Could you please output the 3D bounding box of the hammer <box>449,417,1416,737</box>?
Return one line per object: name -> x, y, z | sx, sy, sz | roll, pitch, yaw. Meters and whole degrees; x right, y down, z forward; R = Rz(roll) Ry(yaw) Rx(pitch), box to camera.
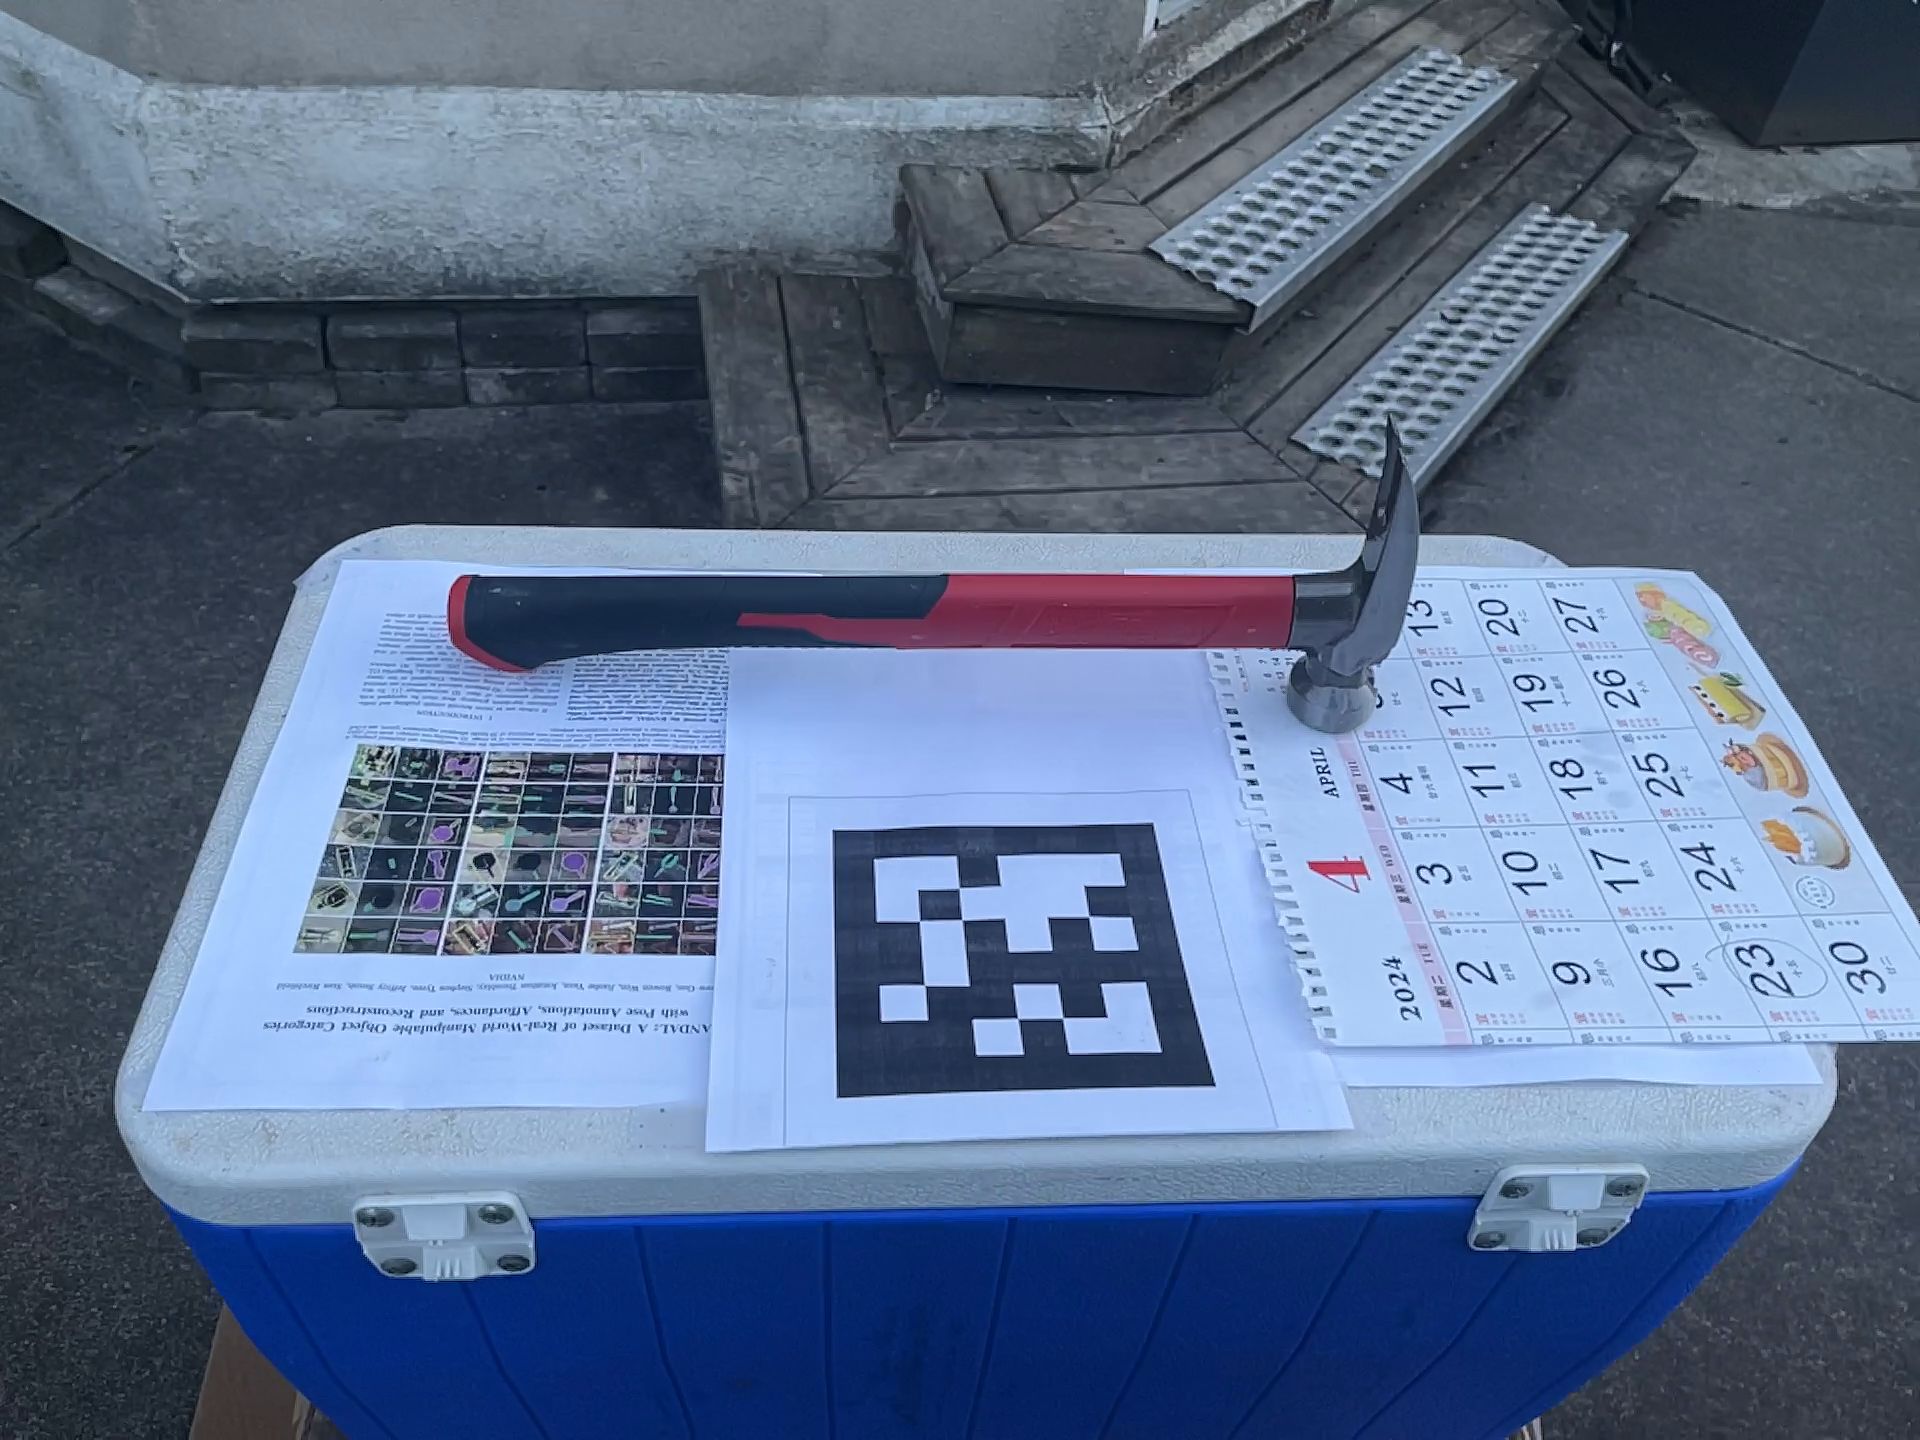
hammer -> -0.016, -0.055, 0.627 | 0.386, 0.143, 0.038 | 0, 46, 1
